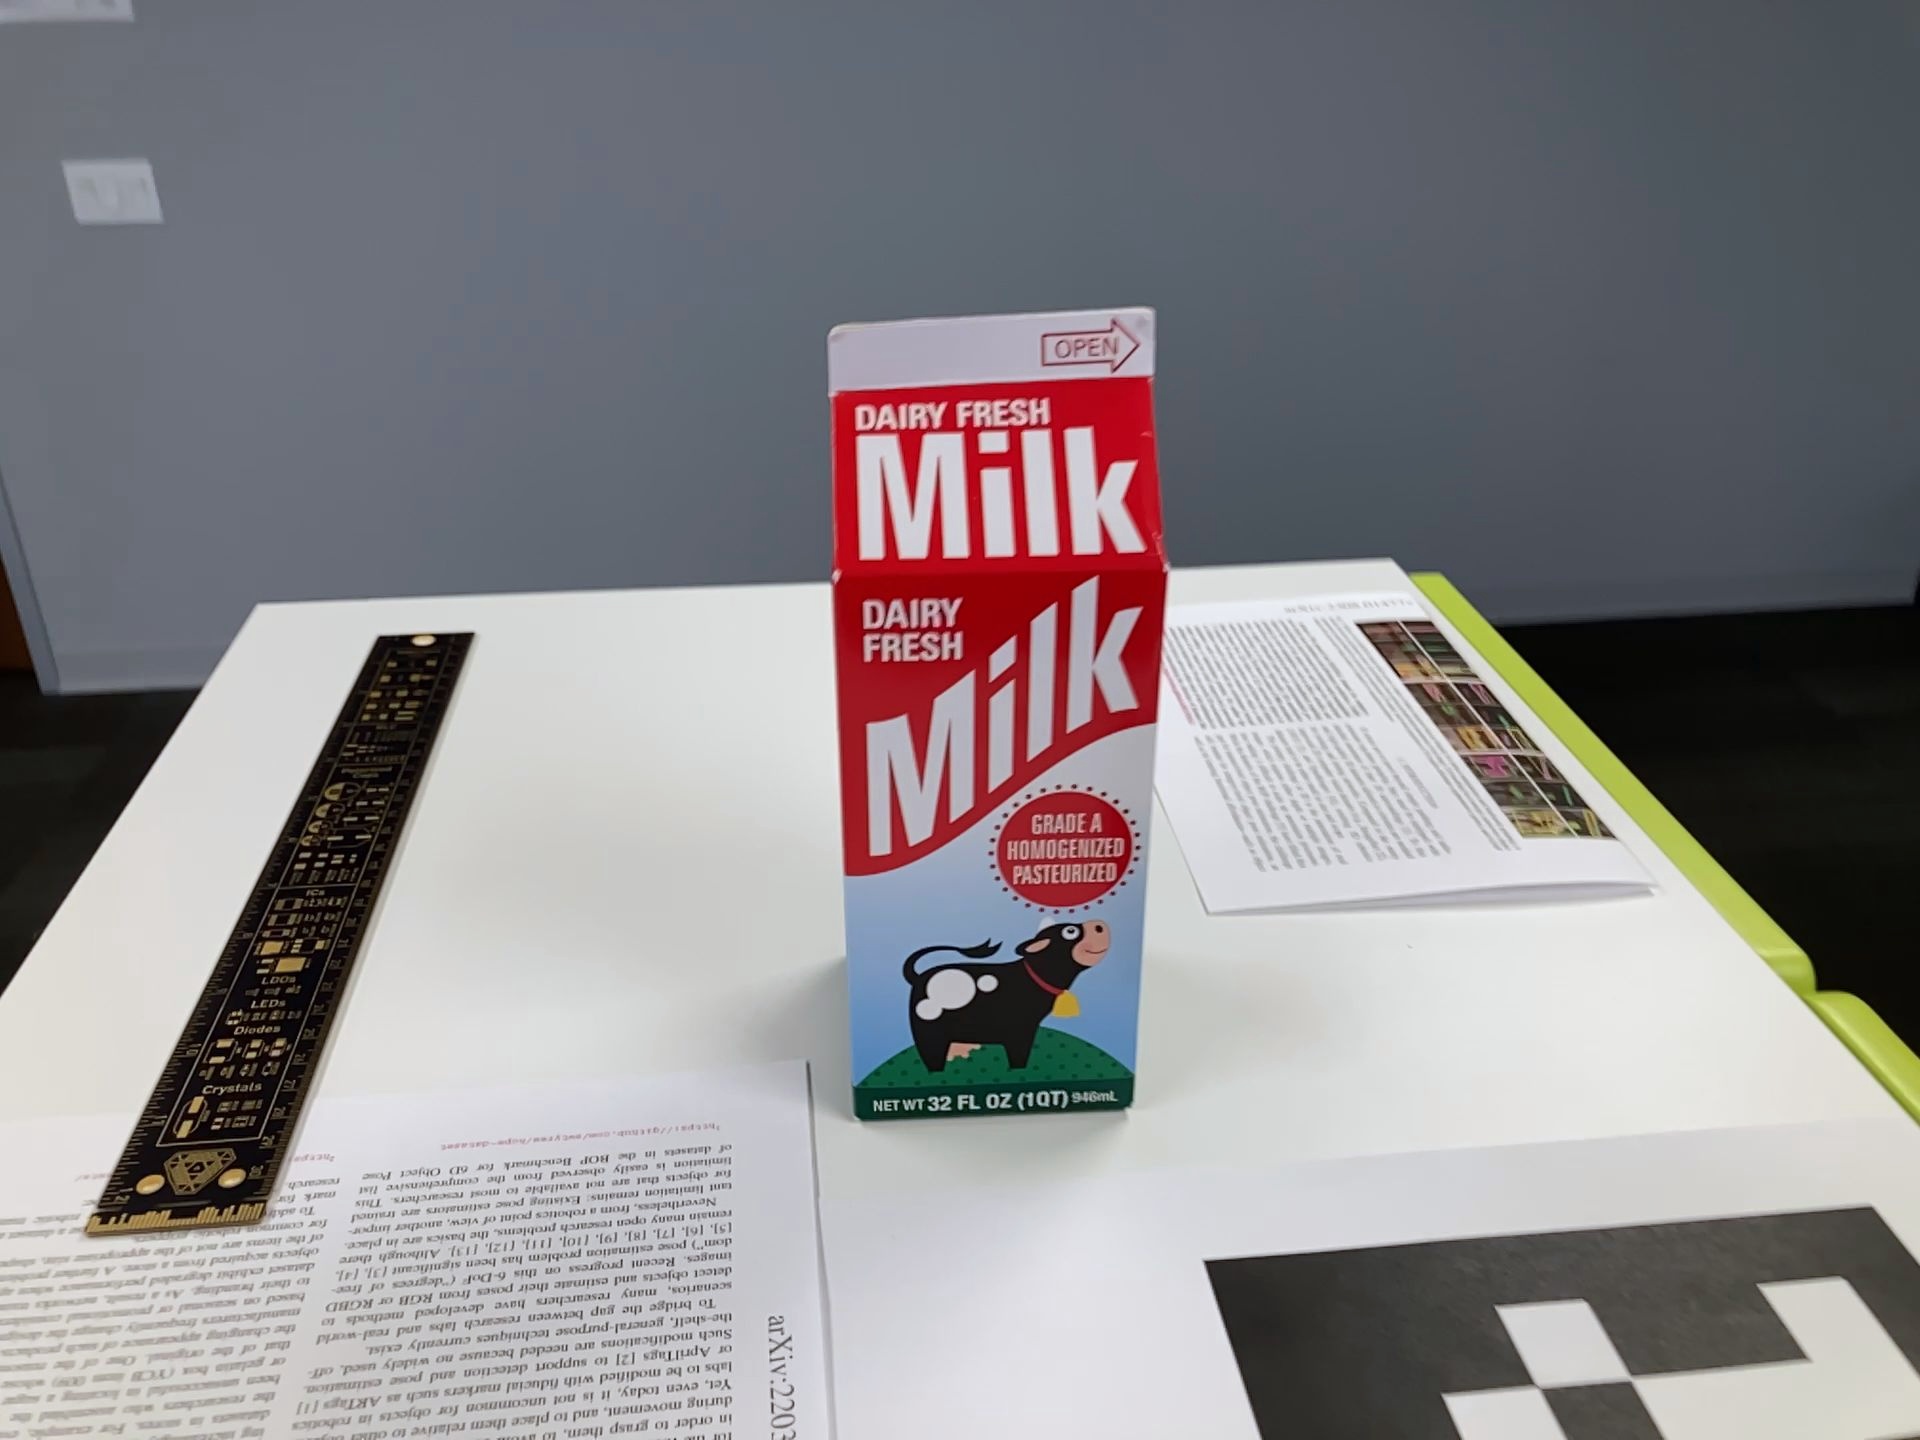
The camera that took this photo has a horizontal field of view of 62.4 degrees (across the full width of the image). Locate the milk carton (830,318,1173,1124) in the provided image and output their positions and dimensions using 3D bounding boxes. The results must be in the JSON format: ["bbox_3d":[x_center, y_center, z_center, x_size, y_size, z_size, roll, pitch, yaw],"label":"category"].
[{"bbox_3d":[0.007,0.000,0.379,0.072,0.190,0.073,-2,28,-2],"label":"milk carton"}]
